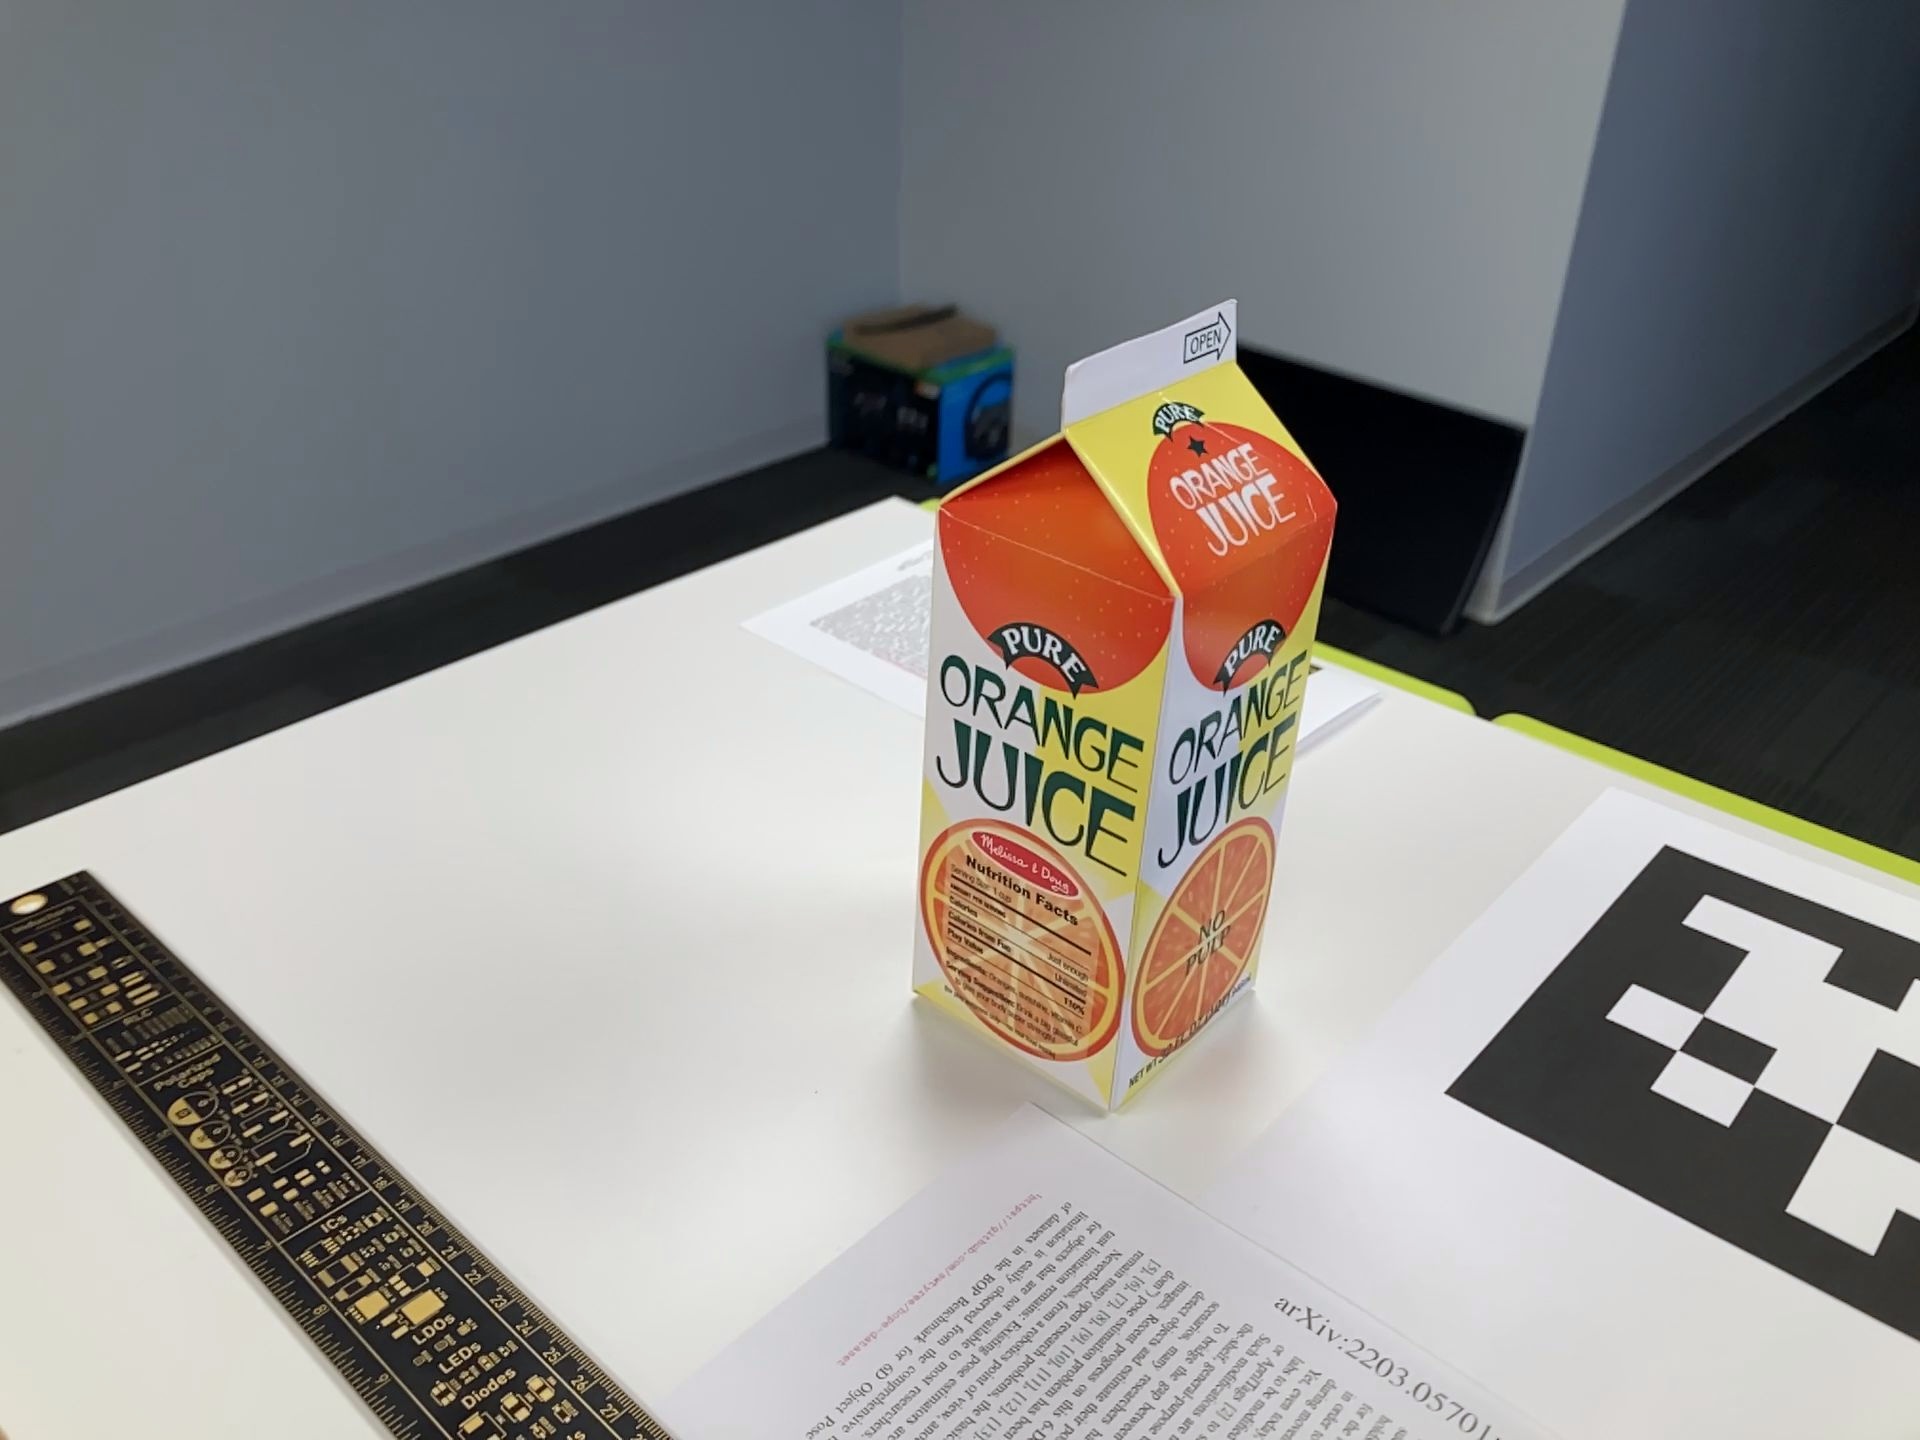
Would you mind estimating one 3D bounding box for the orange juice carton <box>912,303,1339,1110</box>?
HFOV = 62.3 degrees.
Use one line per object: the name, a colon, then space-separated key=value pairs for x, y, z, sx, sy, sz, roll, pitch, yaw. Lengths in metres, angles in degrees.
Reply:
orange juice carton: x=0.040 y=-0.005 z=0.406 sx=0.073 sy=0.192 sz=0.072 roll=25 pitch=36 yaw=33
